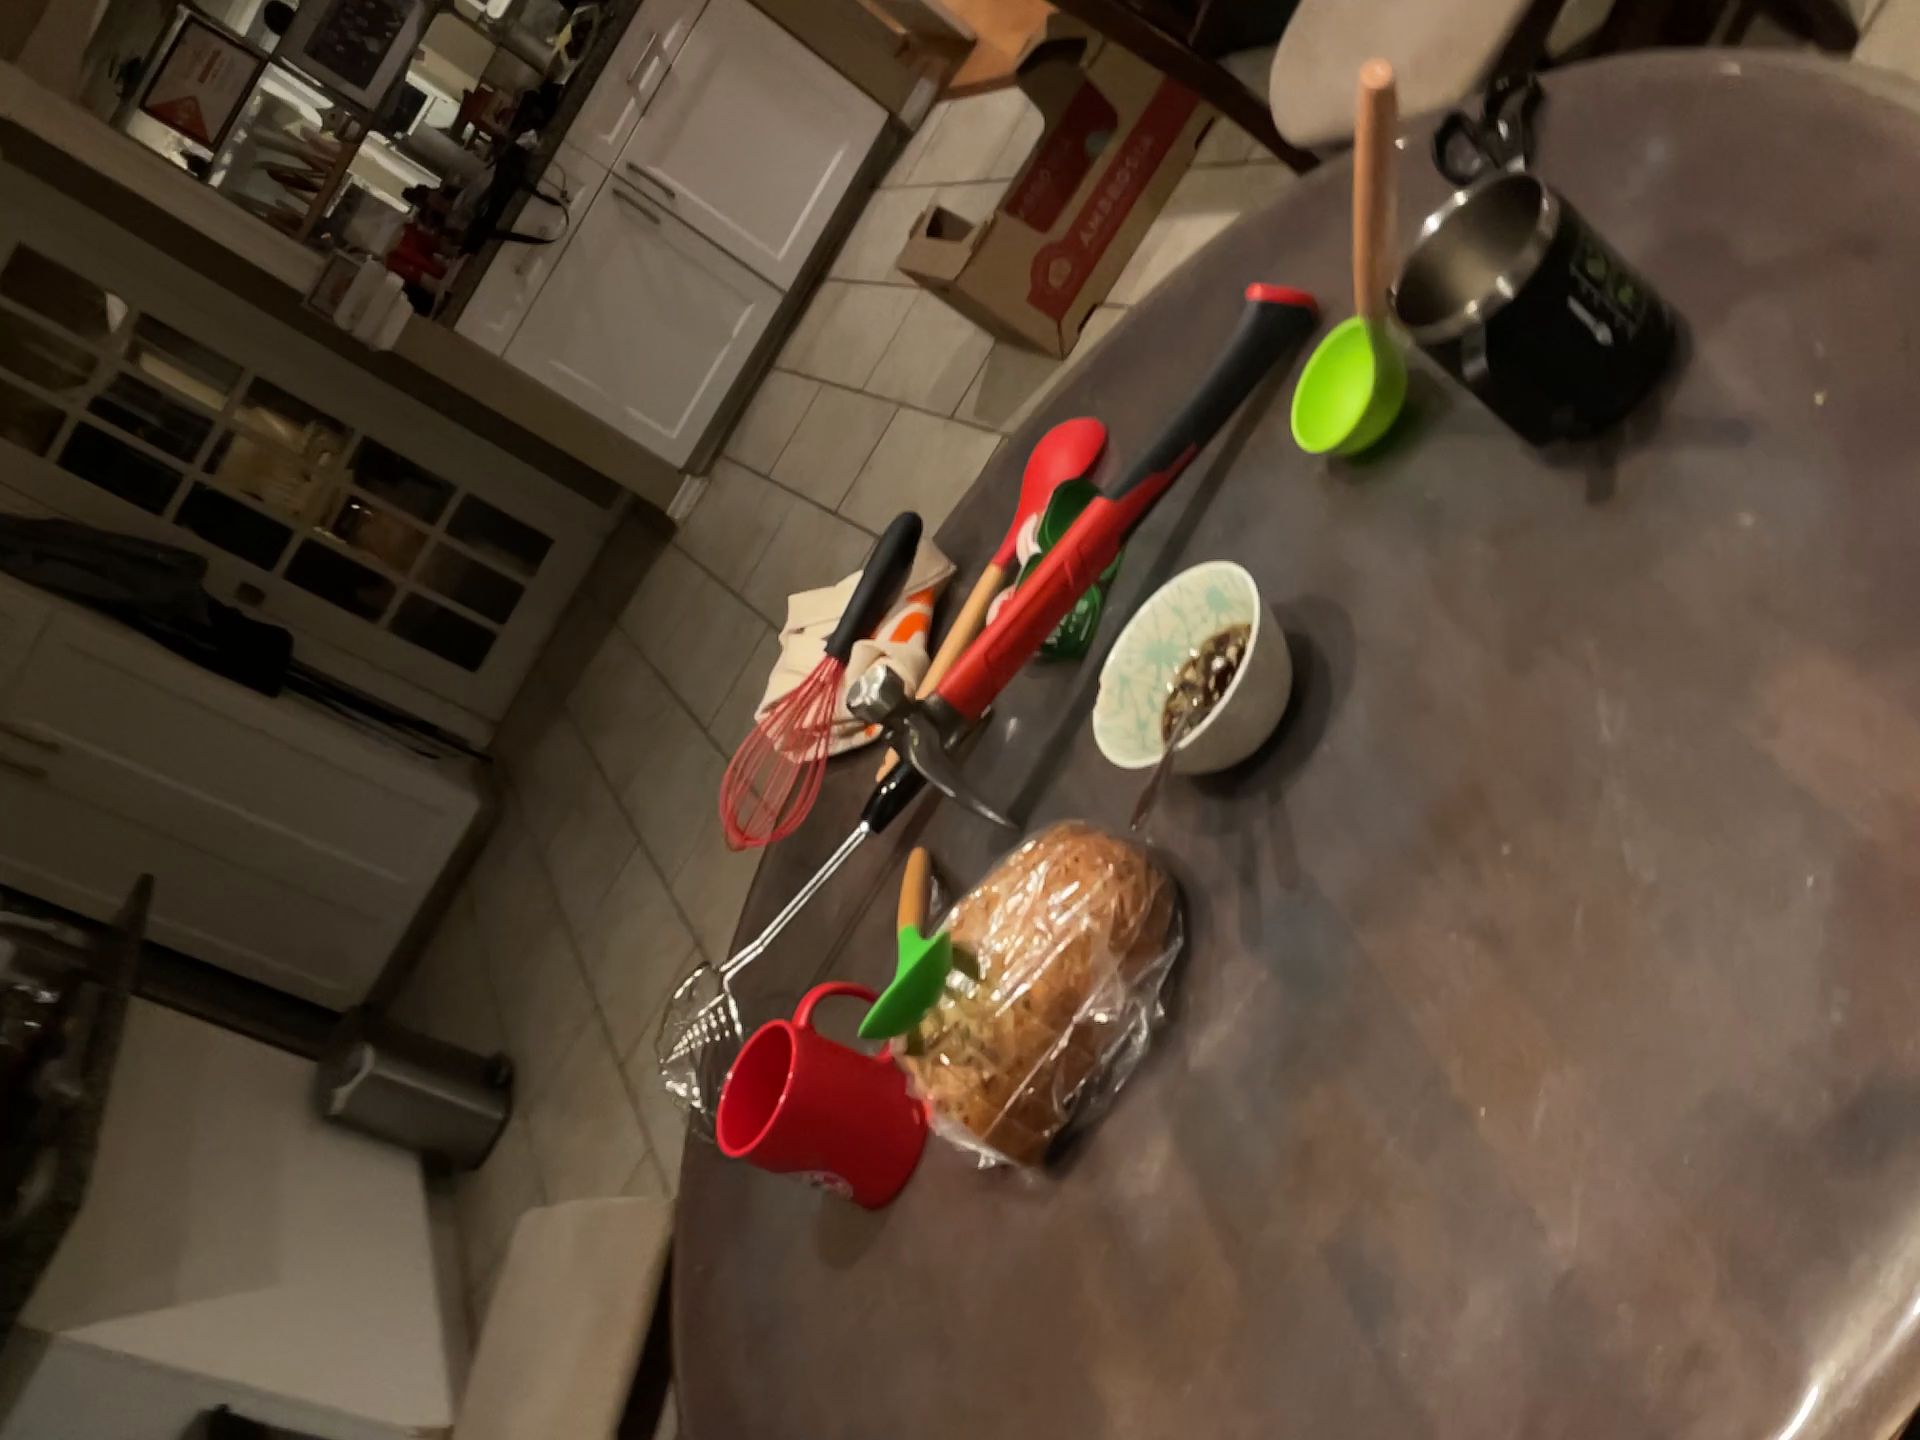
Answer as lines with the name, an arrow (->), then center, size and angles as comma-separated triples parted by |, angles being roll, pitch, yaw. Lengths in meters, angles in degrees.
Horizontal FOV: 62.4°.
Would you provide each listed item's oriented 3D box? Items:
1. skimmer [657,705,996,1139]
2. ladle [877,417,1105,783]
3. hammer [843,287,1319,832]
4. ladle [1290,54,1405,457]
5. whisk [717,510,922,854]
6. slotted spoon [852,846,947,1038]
skimmer -> -0.087, 0.136, 1.119 | 0.363, 0.090, 0.127 | -48, 36, 1
ladle -> 0.017, -0.090, 1.170 | 0.315, 0.031, 0.069 | -62, 26, 1
hammer -> 0.101, -0.110, 0.993 | 0.386, 0.143, 0.038 | -49, 28, -5
ladle -> 0.185, -0.213, 0.762 | 0.062, 0.320, 0.078 | 8, 78, 16
whisk -> -0.104, -0.030, 1.209 | 0.296, 0.073, 0.073 | -62, 26, -5
slotted spoon -> -0.027, 0.117, 0.926 | 0.070, 0.031, 0.314 | -51, 6, 8
